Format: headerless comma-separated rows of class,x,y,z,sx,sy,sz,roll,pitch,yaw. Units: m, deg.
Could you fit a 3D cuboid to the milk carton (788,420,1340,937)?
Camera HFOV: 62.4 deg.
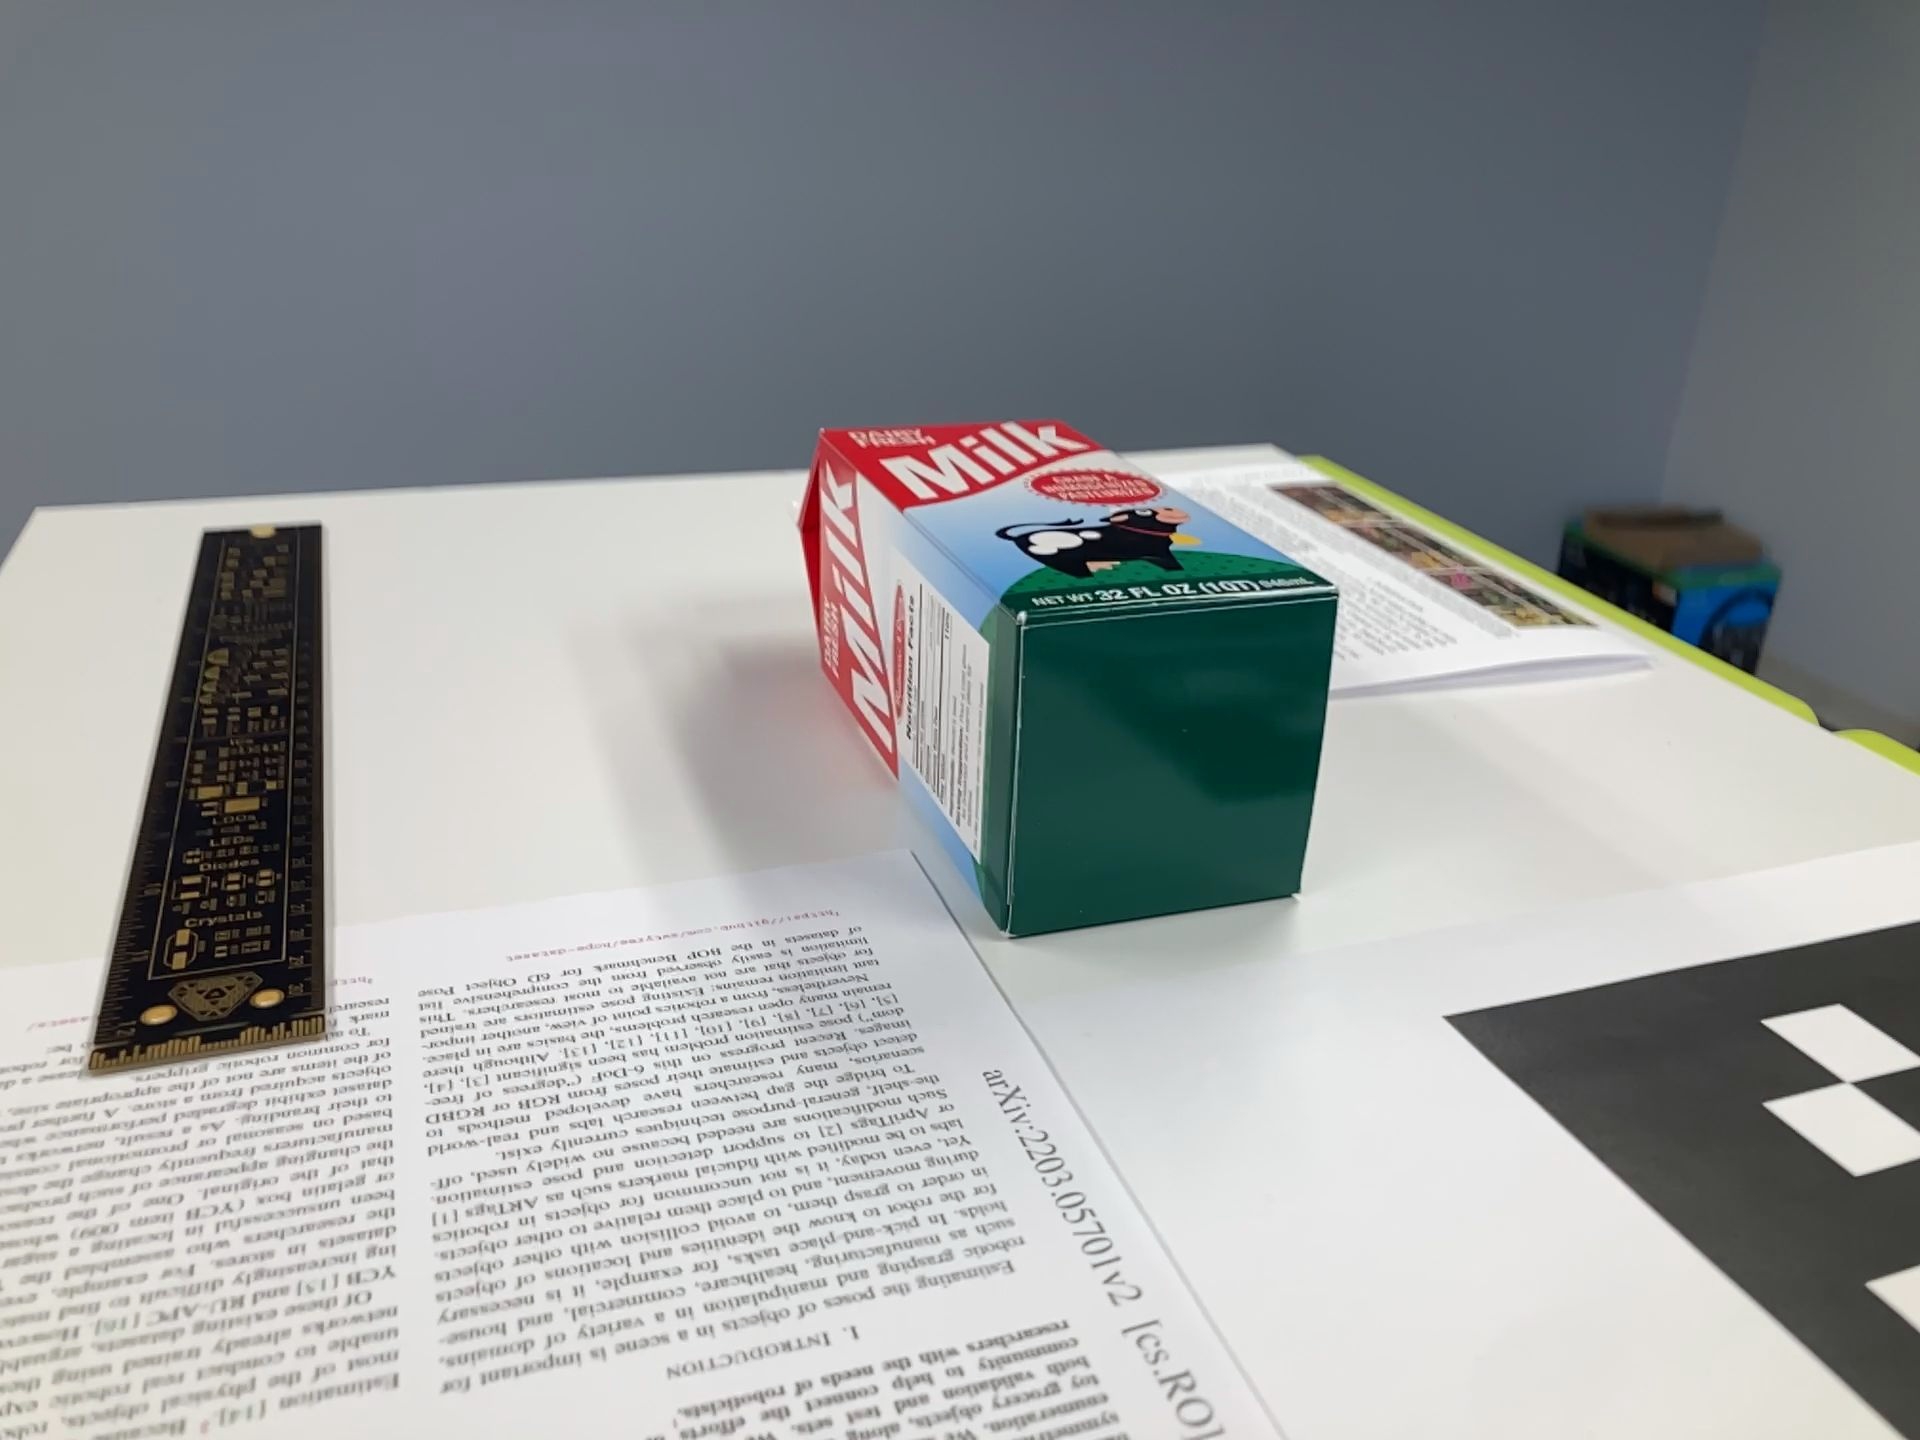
milk carton,0.012,-0.028,0.401,0.072,0.073,0.190,-7,25,-18
